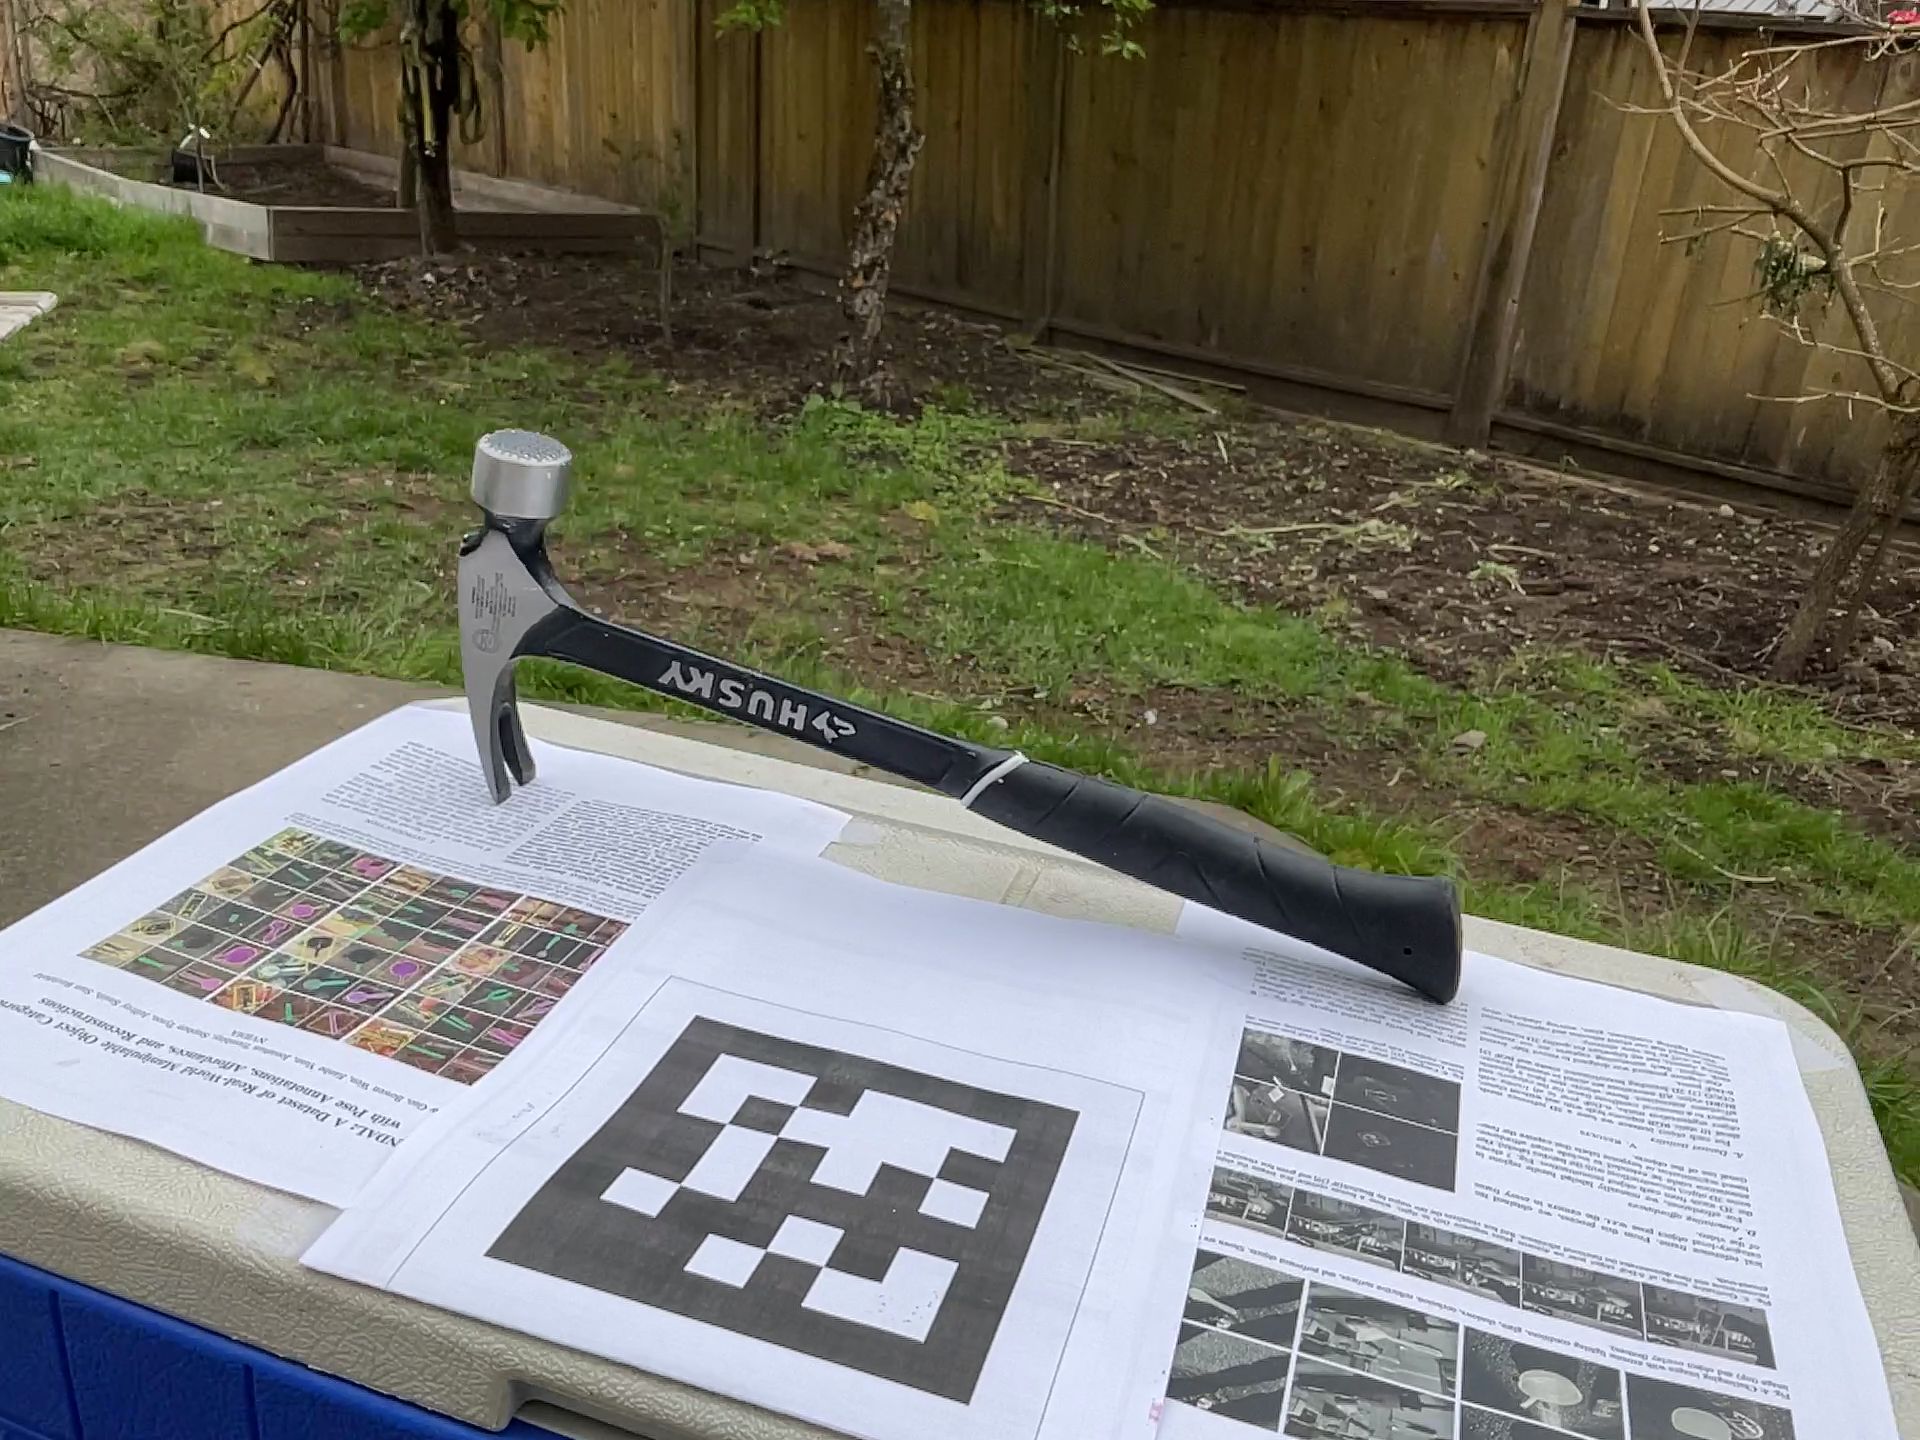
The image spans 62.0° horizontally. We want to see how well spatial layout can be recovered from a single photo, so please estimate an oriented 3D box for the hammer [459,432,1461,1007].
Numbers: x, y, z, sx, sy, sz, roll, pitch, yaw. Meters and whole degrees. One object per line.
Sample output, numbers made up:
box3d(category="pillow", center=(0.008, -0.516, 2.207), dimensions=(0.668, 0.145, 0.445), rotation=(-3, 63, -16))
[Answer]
box3d(category="hammer", center=(-0.008, 0.023, 0.609), dimensions=(0.409, 0.149, 0.036), rotation=(20, 25, 9))
